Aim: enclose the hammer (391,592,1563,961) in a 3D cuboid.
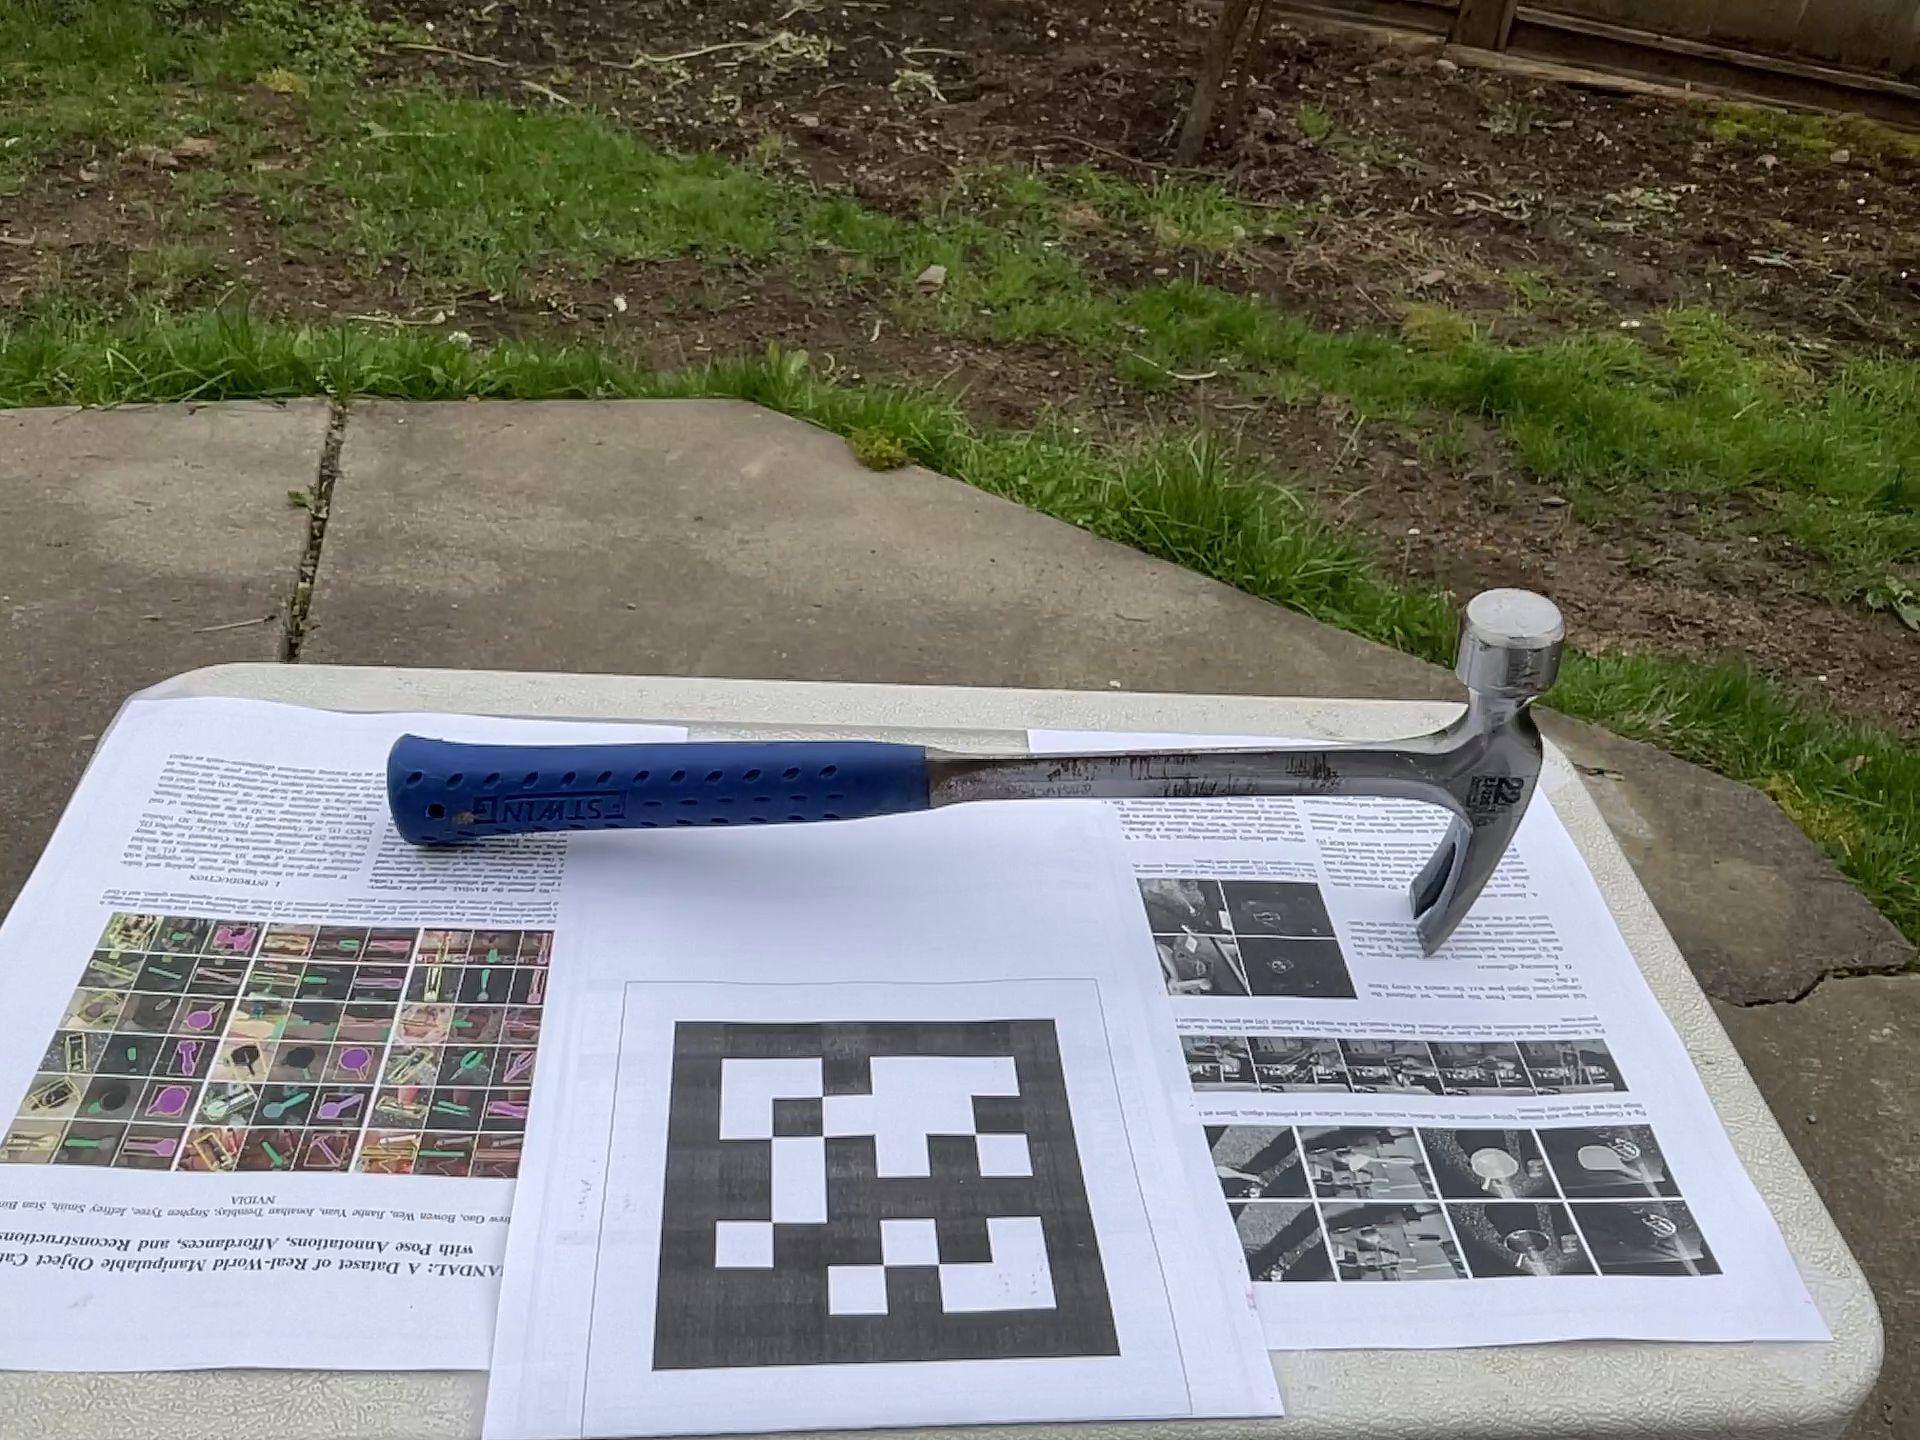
[{"bbox_3d":[0.000,0.027,0.580,0.405,0.144,0.035,-1,37,3],"label":"hammer"}]
